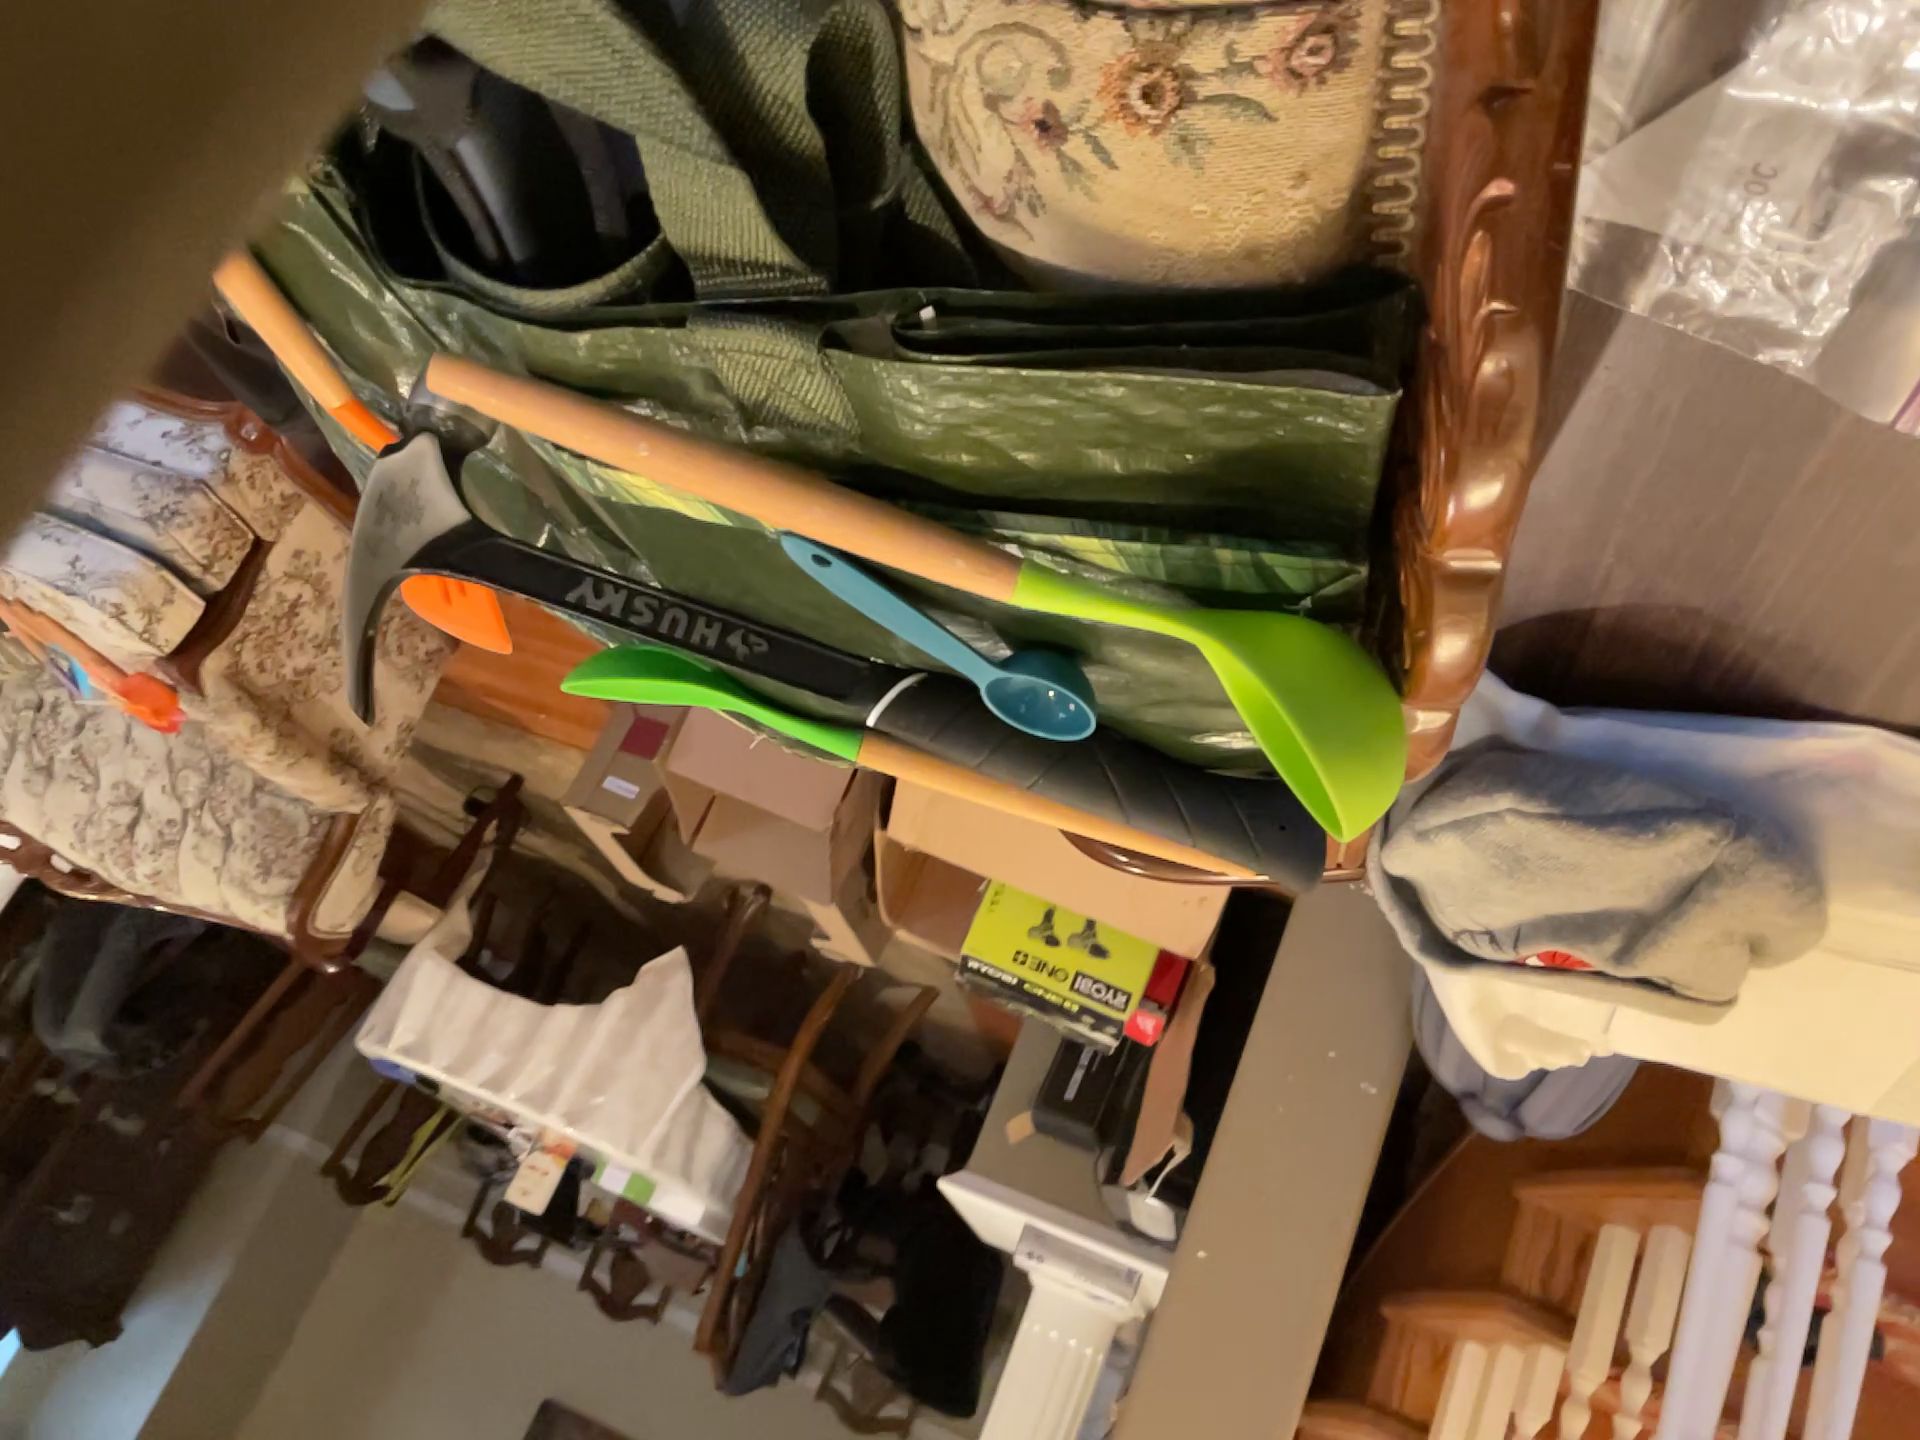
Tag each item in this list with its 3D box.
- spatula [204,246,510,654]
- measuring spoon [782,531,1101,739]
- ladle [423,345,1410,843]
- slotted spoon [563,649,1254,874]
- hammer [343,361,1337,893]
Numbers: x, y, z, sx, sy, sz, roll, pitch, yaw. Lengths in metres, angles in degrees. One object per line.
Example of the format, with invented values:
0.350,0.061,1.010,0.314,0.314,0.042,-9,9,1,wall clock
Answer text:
-0.280,-0.145,0.665,0.081,0.041,0.322,21,154,31,spatula
-0.003,-0.034,0.540,0.128,0.021,0.042,33,154,-19,measuring spoon
-0.012,-0.041,0.483,0.320,0.062,0.078,20,-178,-4,ladle
-0.019,0.019,0.701,0.313,0.031,0.070,16,172,-2,slotted spoon
-0.043,-0.011,0.628,0.409,0.149,0.036,19,166,-3,hammer
